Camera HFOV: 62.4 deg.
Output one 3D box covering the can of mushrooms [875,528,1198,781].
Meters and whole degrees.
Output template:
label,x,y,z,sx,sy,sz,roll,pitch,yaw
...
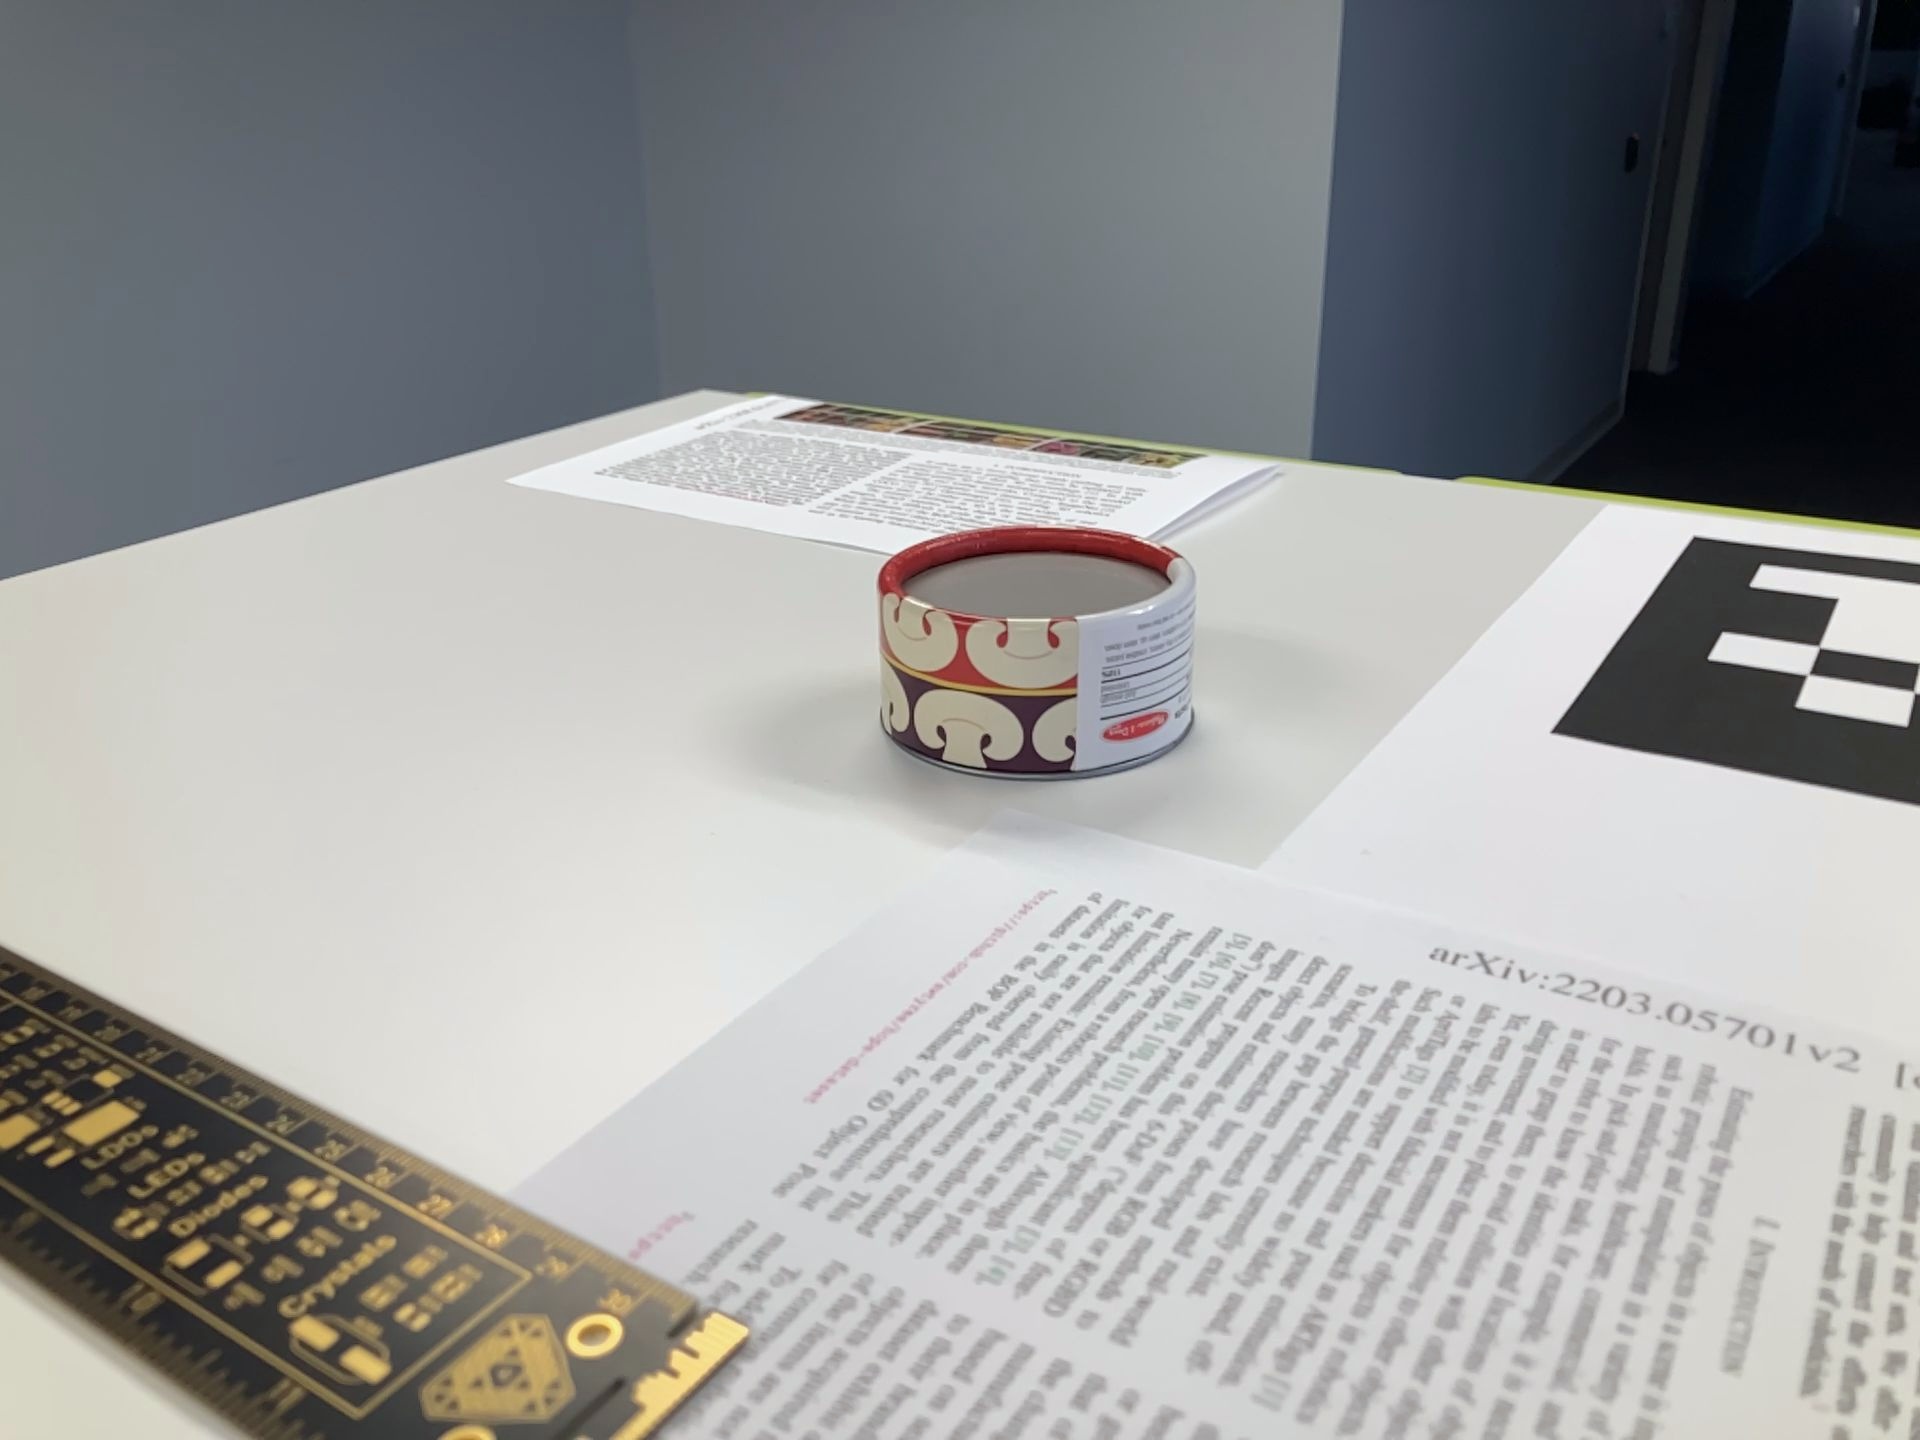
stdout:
label,x,y,z,sx,sy,sz,roll,pitch,yaw
can of mushrooms,0.014,-0.016,0.328,0.071,0.033,0.071,-2,23,1
